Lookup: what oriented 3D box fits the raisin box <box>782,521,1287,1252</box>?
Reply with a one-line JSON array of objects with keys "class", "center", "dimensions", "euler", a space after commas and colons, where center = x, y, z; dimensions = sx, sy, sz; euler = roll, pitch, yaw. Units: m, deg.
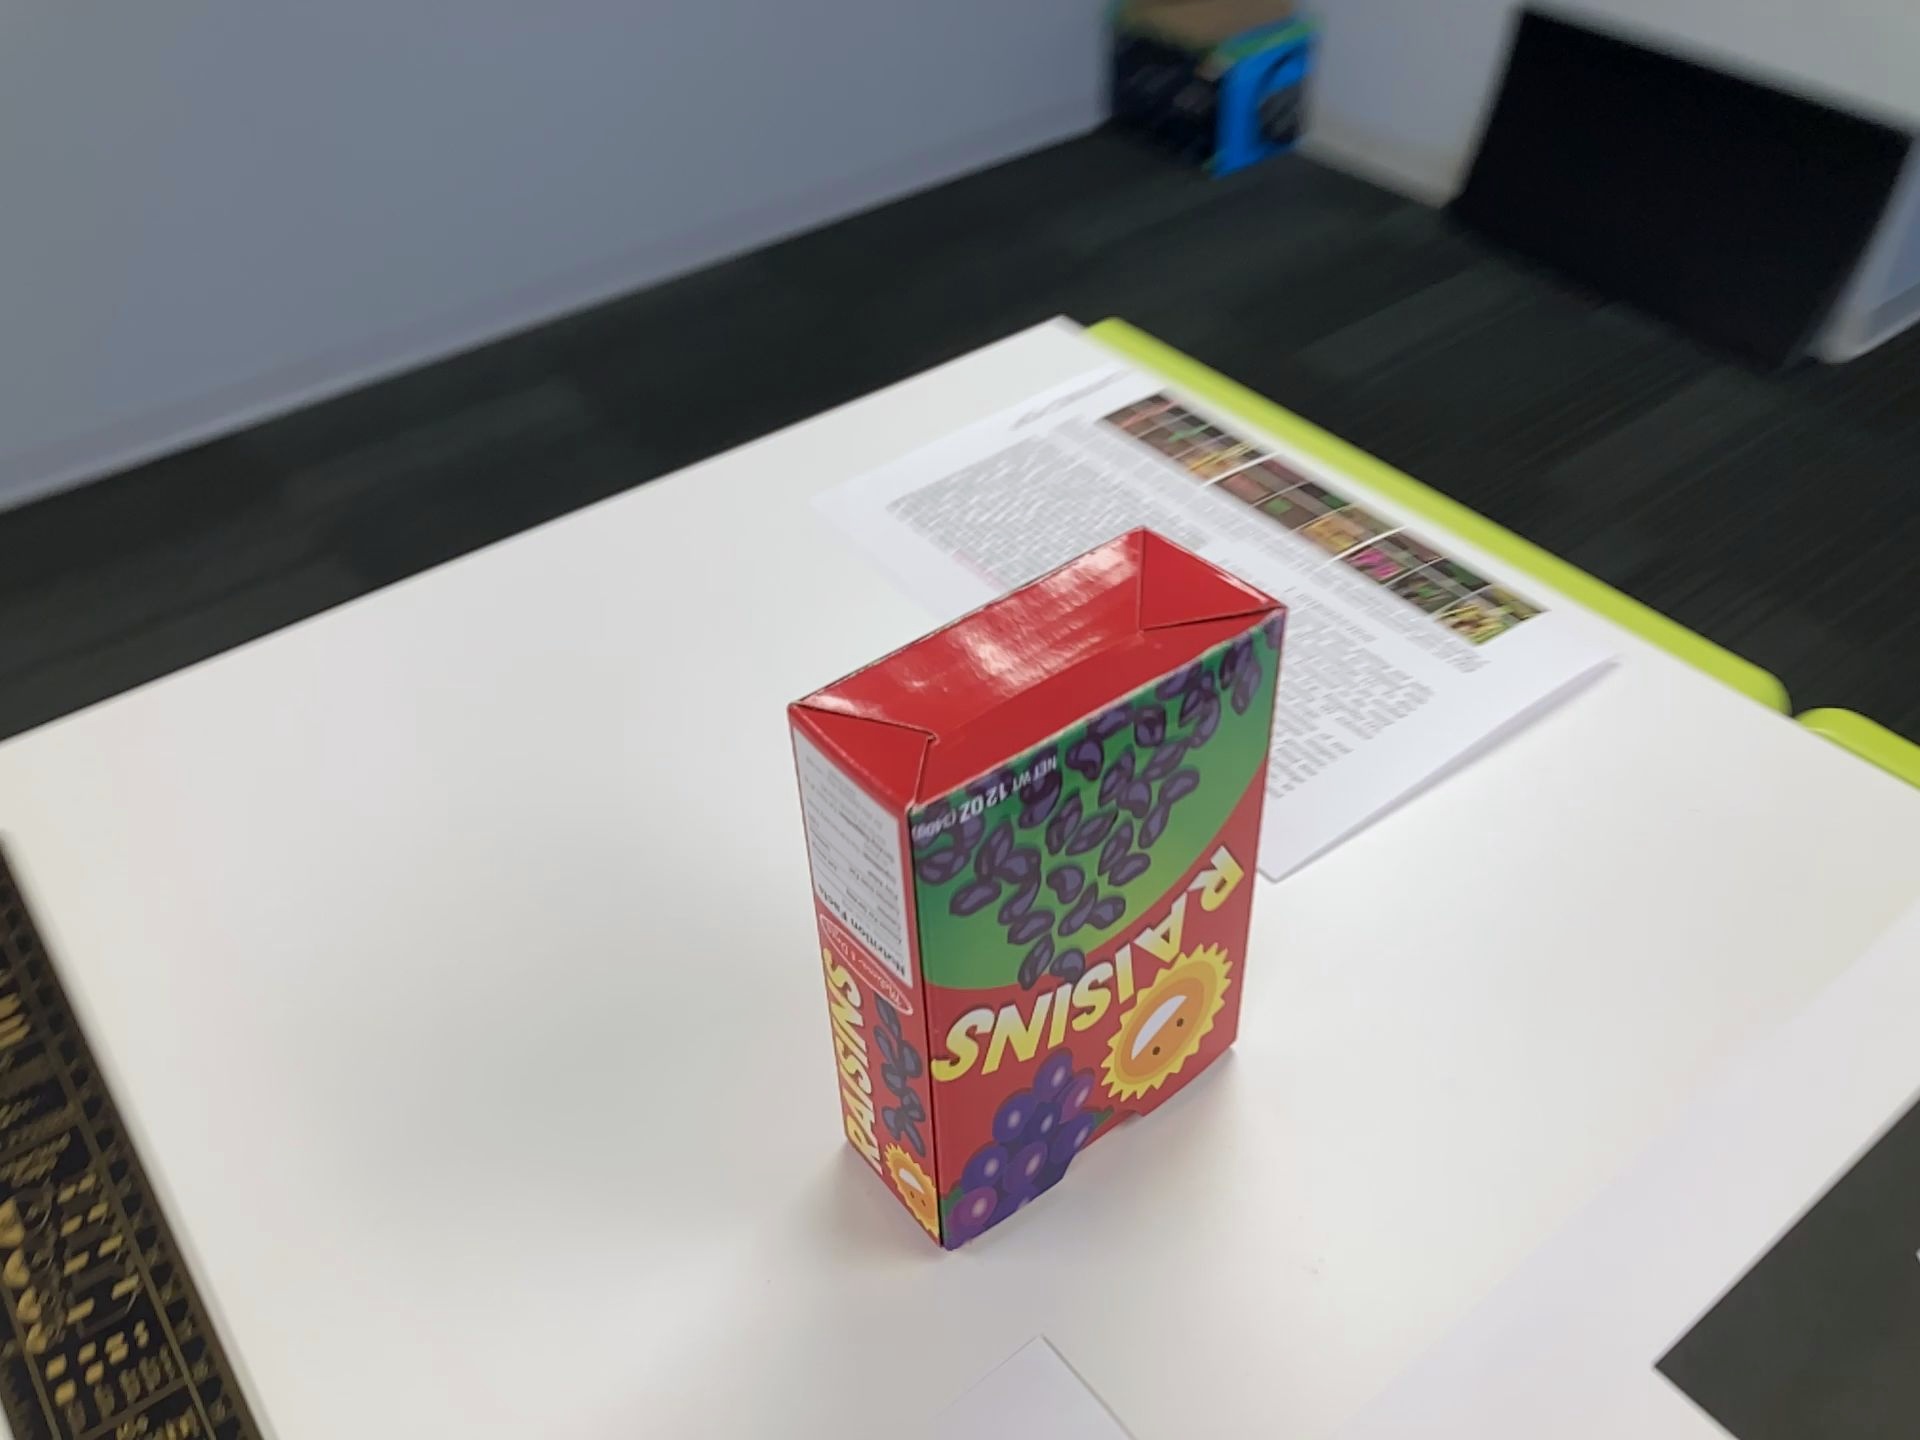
[{"class": "raisin box", "center": [0.017, 0.035, 0.309], "dimensions": [0.086, 0.123, 0.040], "euler": [-29, 46, -28]}]
